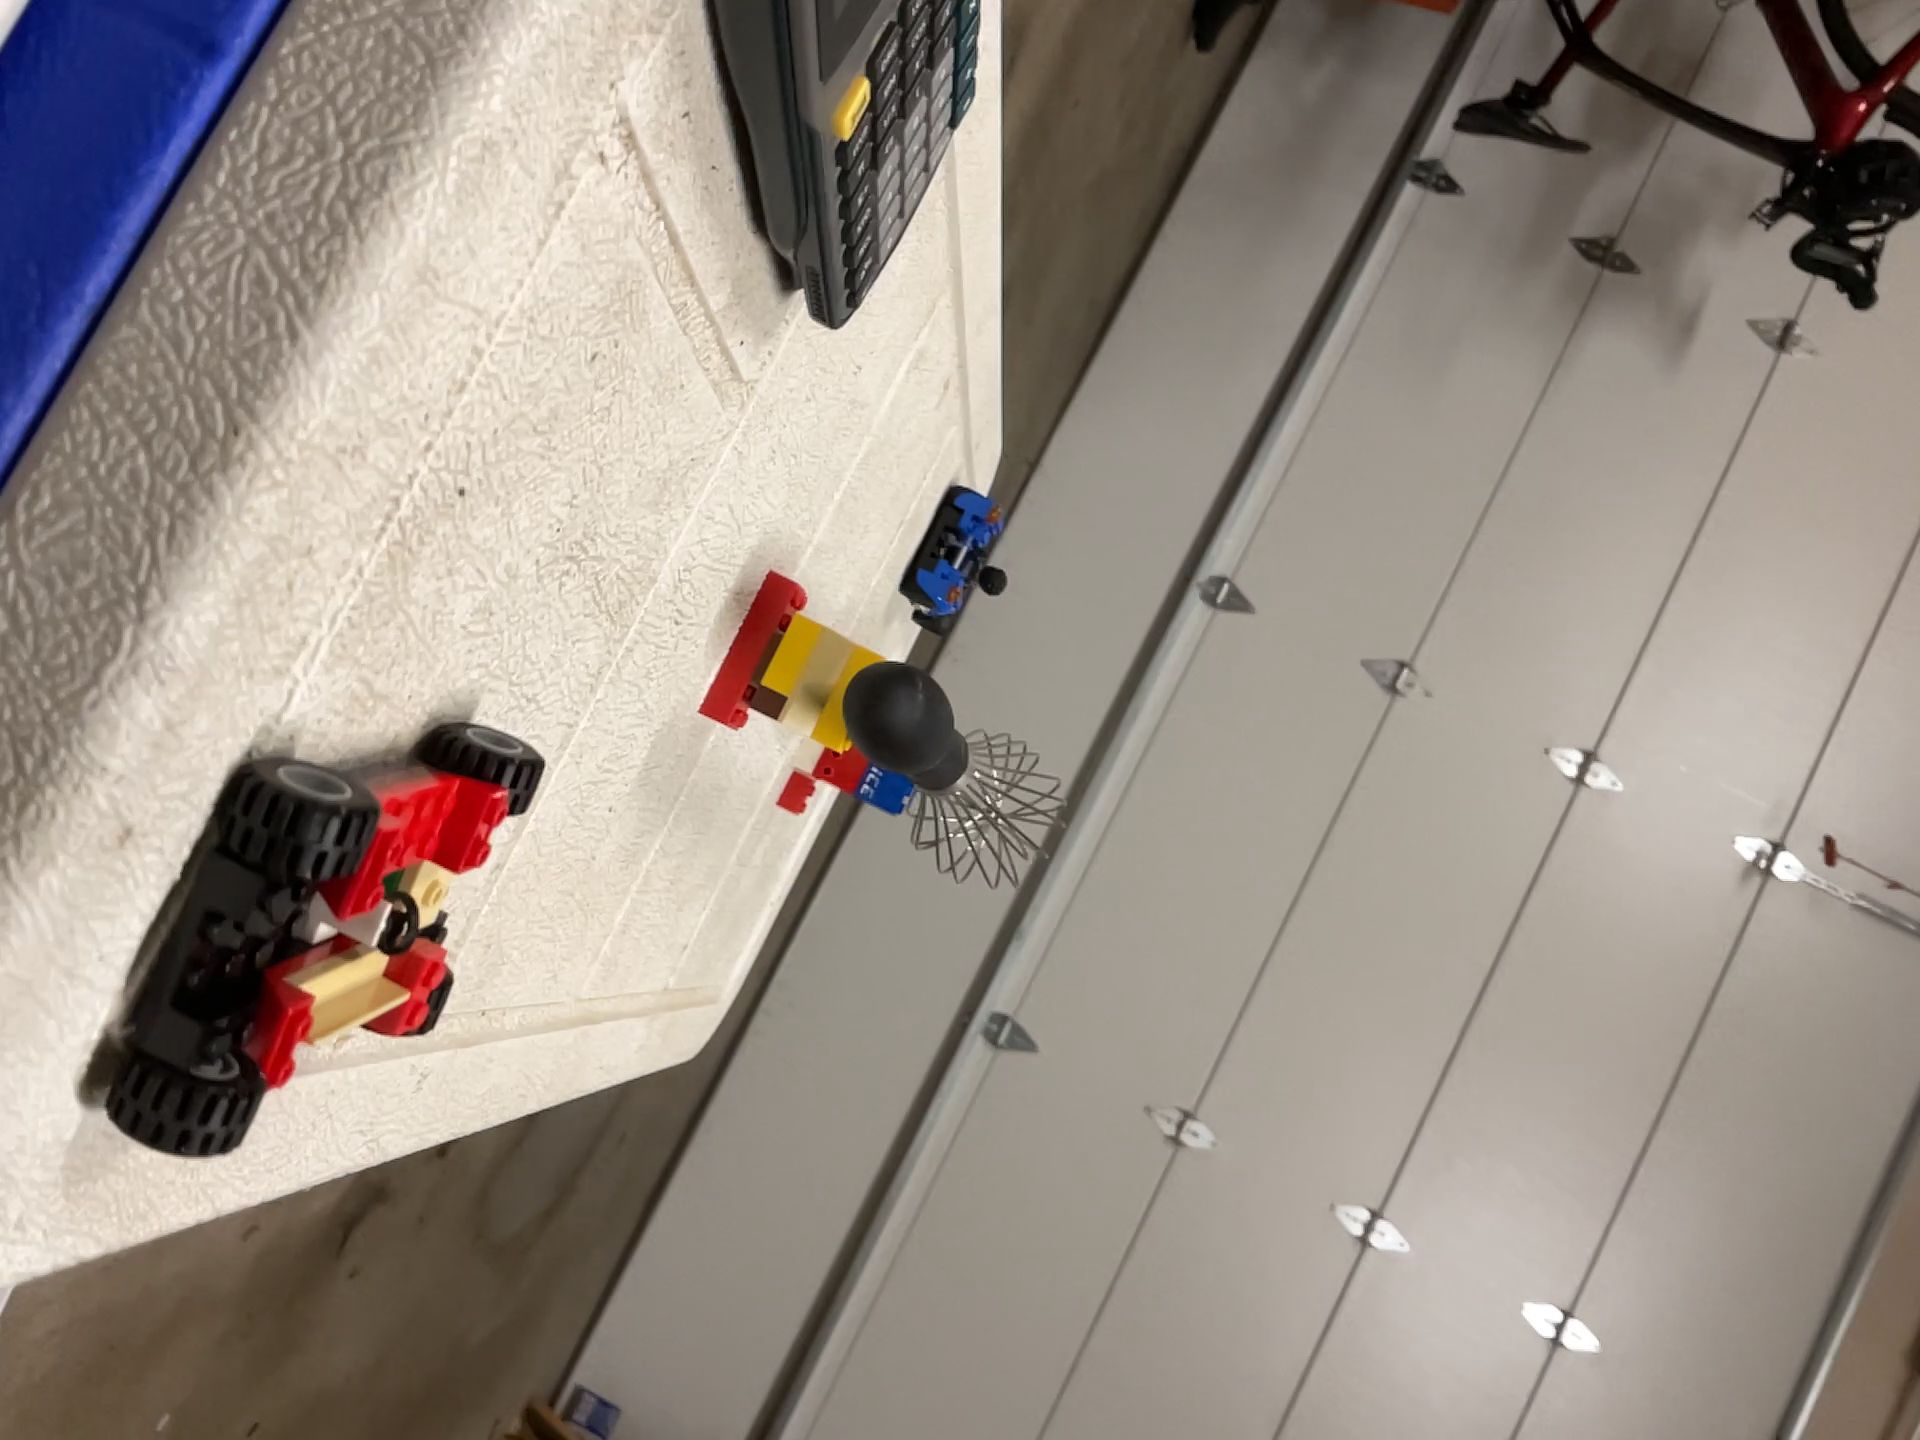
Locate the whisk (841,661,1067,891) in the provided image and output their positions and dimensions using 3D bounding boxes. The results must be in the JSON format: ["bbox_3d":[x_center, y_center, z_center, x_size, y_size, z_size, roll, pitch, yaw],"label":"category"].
[{"bbox_3d":[-0.003,0.020,0.564,0.070,0.070,0.284,-59,168,-5],"label":"whisk"}]
